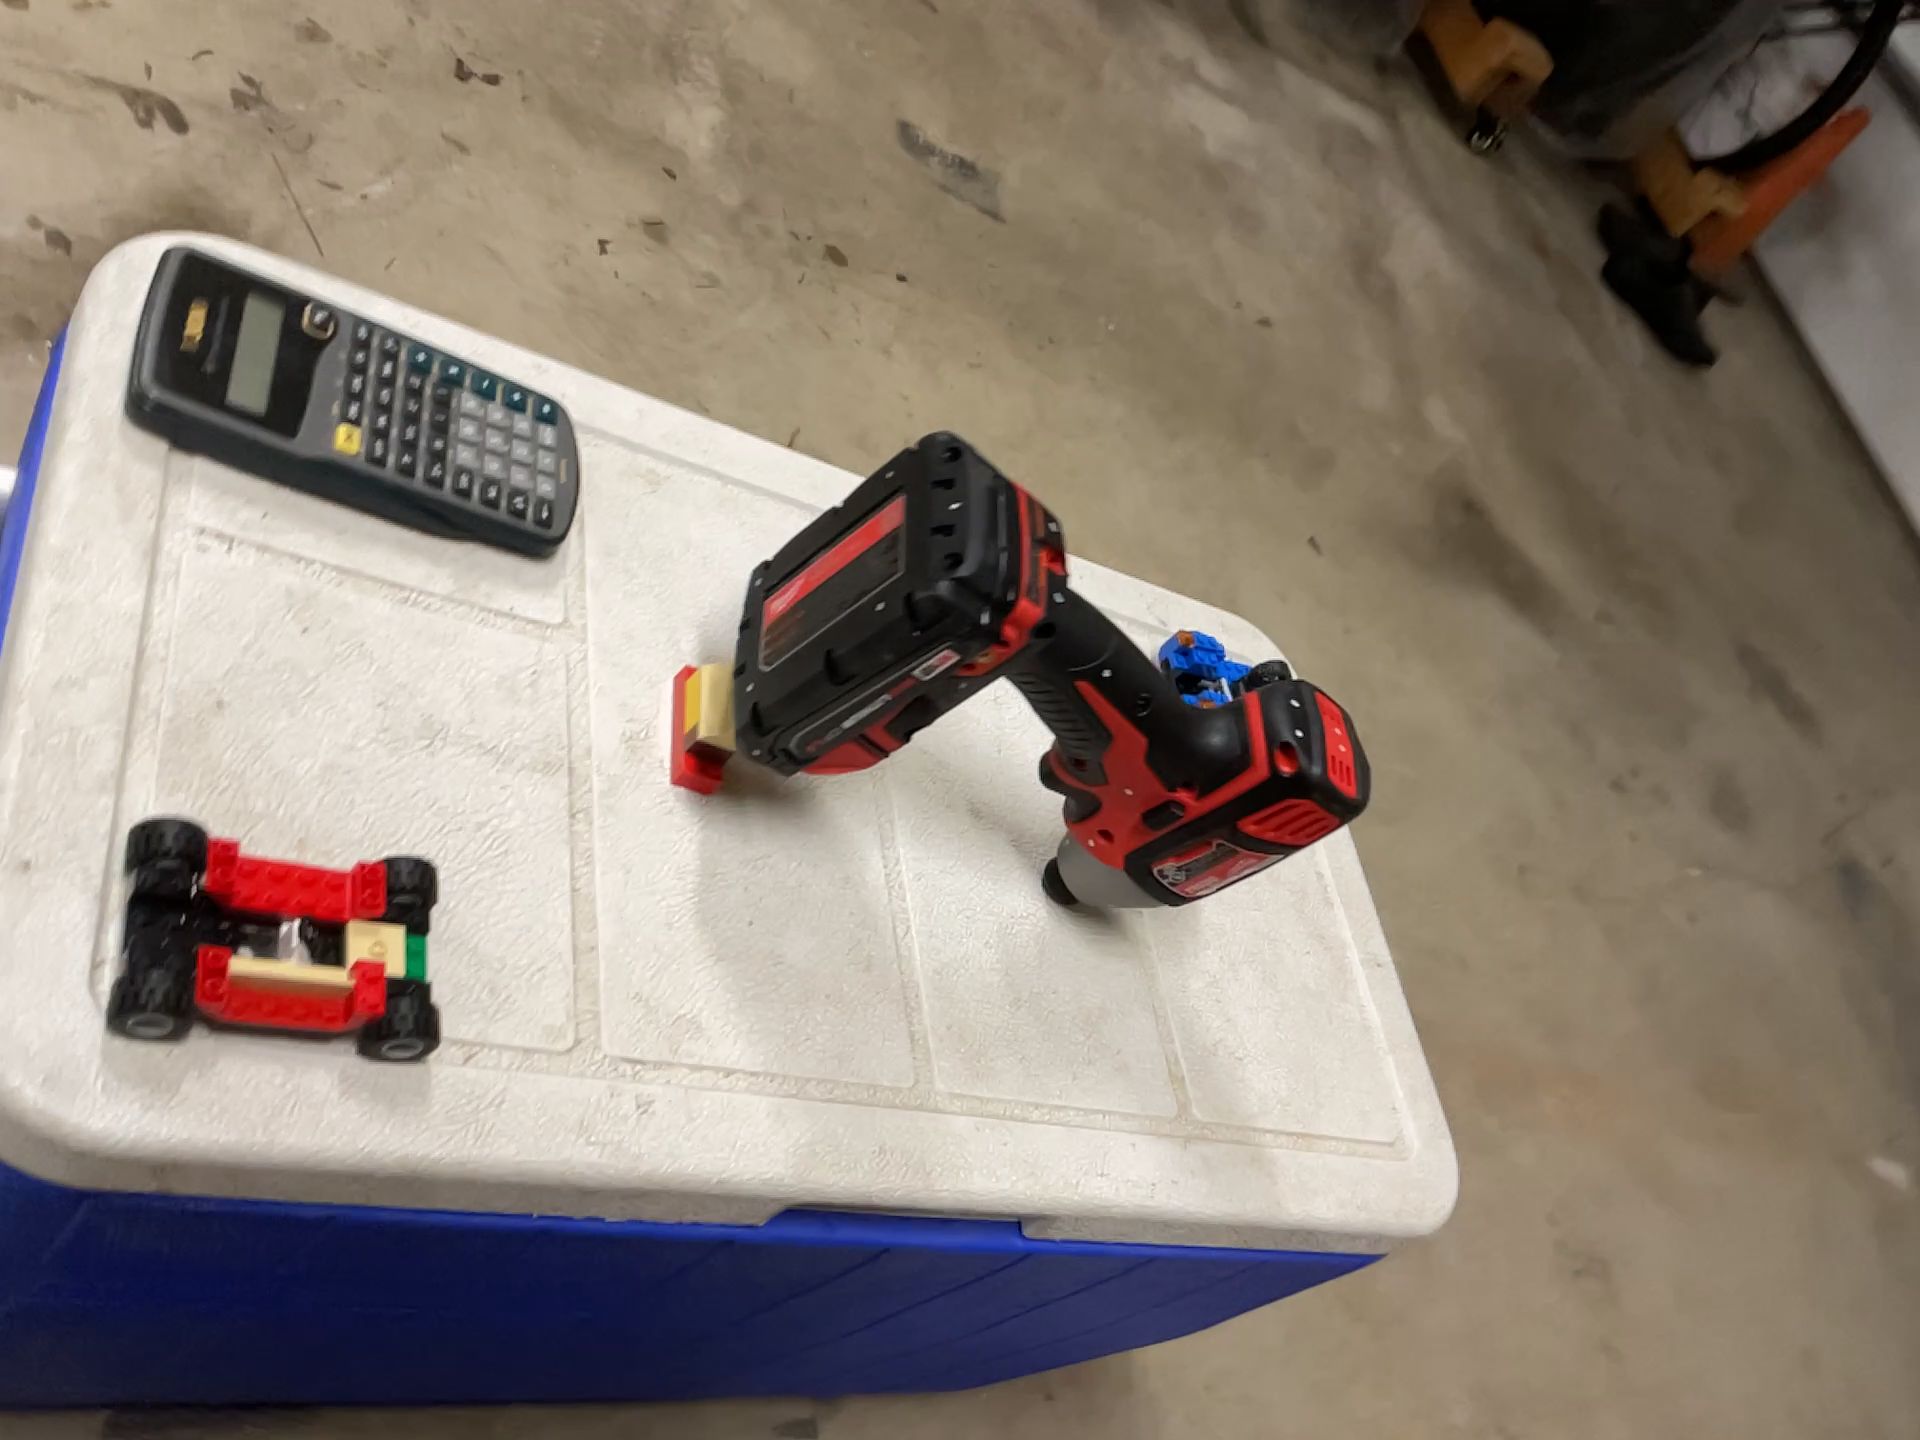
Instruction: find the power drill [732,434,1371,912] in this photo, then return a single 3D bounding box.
[{"bbox_3d":[0.032,0.005,0.583,0.219,0.143,0.079,30,43,-33],"label":"power drill"}]
